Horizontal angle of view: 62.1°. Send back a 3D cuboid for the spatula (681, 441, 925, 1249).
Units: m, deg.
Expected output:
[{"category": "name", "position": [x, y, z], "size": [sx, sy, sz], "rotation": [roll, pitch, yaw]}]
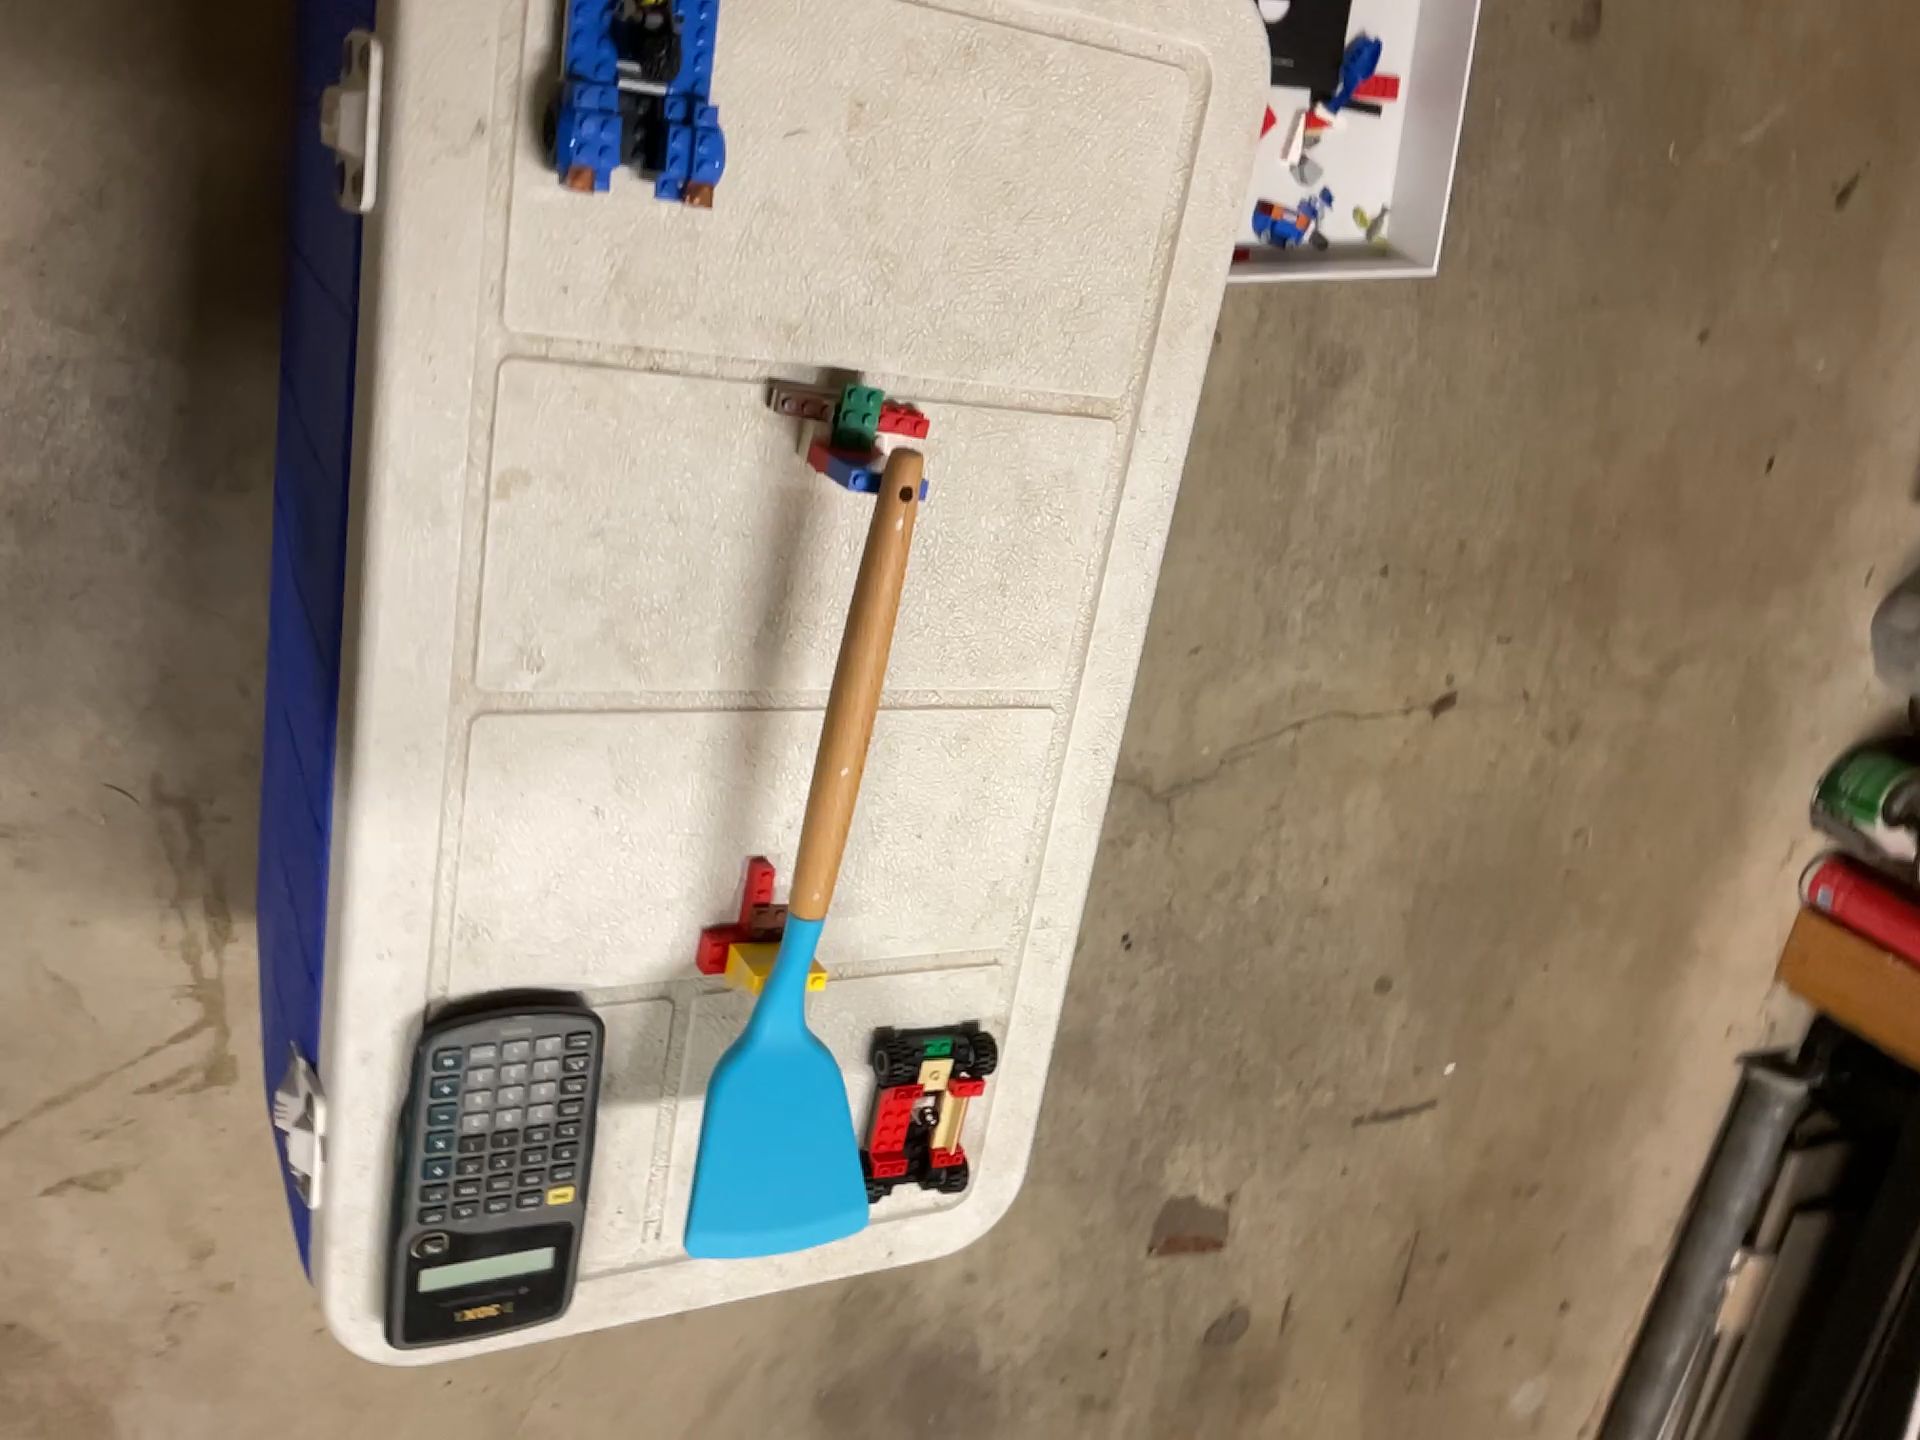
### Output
[{"category": "spatula", "position": [-0.048, 0.053, 0.603], "size": [0.082, 0.044, 0.317], "rotation": [3, 110, -29]}]
